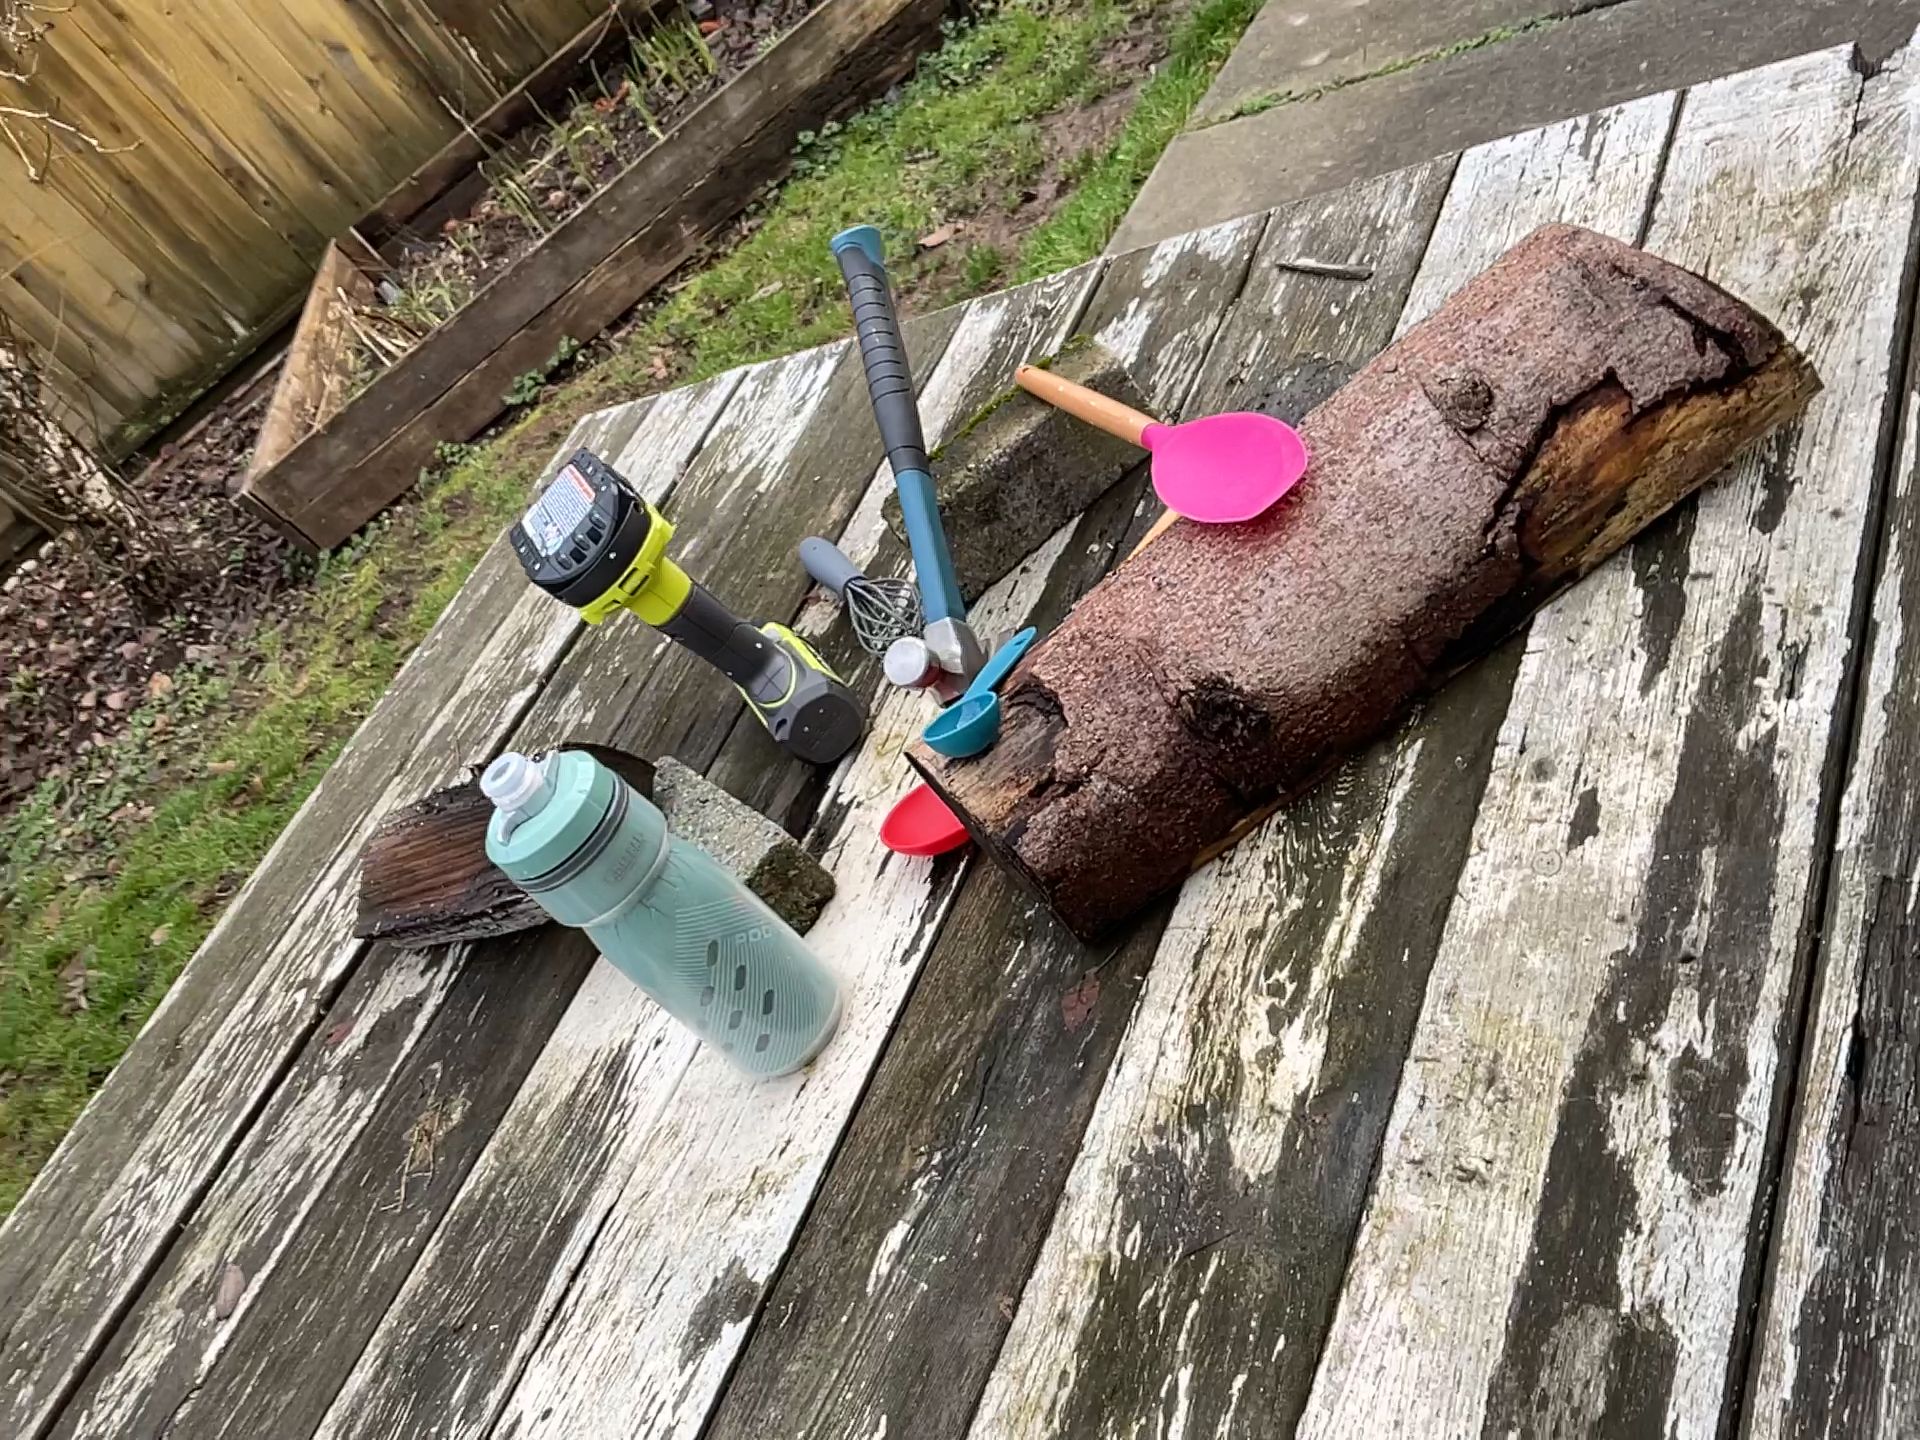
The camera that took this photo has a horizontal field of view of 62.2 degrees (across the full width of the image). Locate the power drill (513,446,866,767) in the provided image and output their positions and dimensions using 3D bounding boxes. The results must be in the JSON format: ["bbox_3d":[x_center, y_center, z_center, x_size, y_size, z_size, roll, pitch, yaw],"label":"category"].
[{"bbox_3d":[-0.173,-0.071,1.032,0.080,0.222,0.171,-49,33,2],"label":"power drill"}]

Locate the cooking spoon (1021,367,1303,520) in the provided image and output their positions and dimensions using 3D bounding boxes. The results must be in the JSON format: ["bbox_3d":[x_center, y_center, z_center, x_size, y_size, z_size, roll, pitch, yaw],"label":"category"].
[{"bbox_3d":[0.099,-0.166,0.902,0.069,0.017,0.319,-43,30,0],"label":"cooking spoon"}]

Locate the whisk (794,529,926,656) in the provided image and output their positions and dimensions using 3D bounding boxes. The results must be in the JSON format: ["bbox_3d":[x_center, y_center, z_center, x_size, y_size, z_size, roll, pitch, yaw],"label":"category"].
[{"bbox_3d":[-0.074,-0.098,1.110,0.055,0.055,0.239,-36,31,-7],"label":"whisk"}]

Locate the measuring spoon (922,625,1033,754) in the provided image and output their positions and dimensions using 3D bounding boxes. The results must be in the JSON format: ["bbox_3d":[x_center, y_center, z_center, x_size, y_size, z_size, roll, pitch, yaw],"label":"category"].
[{"bbox_3d":[0.018,-0.015,0.821,0.042,0.021,0.128,-20,18,29],"label":"measuring spoon"}]

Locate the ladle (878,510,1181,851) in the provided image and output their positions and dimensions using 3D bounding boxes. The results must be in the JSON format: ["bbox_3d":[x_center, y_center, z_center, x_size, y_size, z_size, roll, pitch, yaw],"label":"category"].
[{"bbox_3d":[0.064,-0.038,0.939,0.315,0.031,0.069,-50,33,-17],"label":"ladle"}]

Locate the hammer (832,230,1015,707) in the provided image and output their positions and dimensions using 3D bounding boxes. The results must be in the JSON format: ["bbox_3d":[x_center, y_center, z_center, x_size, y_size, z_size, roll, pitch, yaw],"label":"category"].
[{"bbox_3d":[-0.032,-0.164,0.995,0.033,0.128,0.331,-21,71,24],"label":"hammer"}]
